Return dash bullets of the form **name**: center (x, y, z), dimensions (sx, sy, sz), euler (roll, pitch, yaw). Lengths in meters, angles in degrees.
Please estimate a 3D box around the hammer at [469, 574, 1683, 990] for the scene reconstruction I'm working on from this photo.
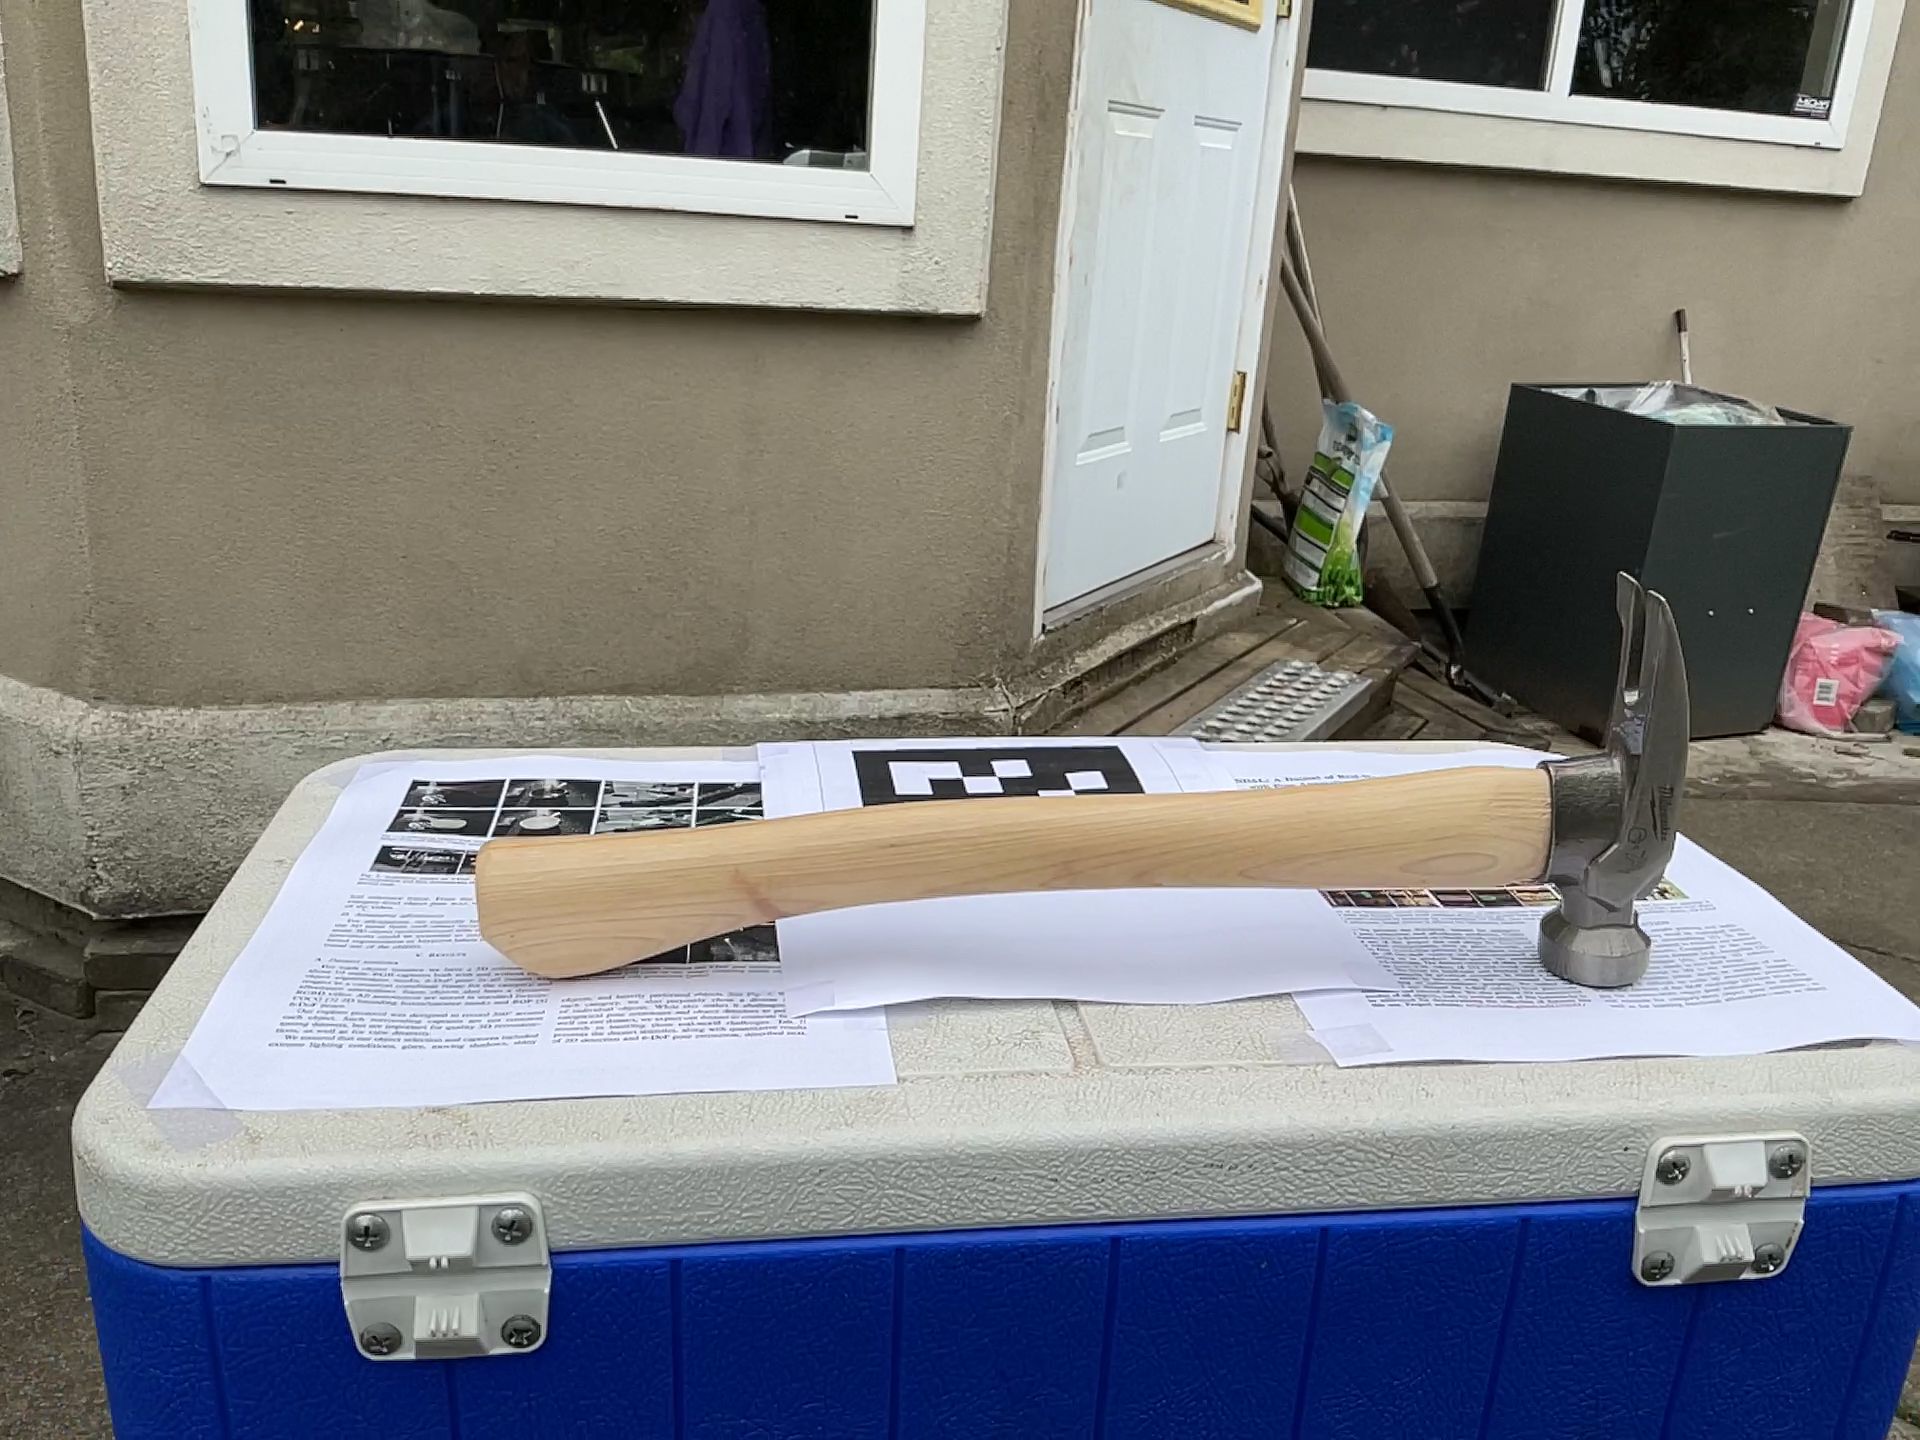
- **hammer**: center (0.041, 0.036, 0.548), dimensions (0.410, 0.146, 0.038), euler (-4, 21, -4)
